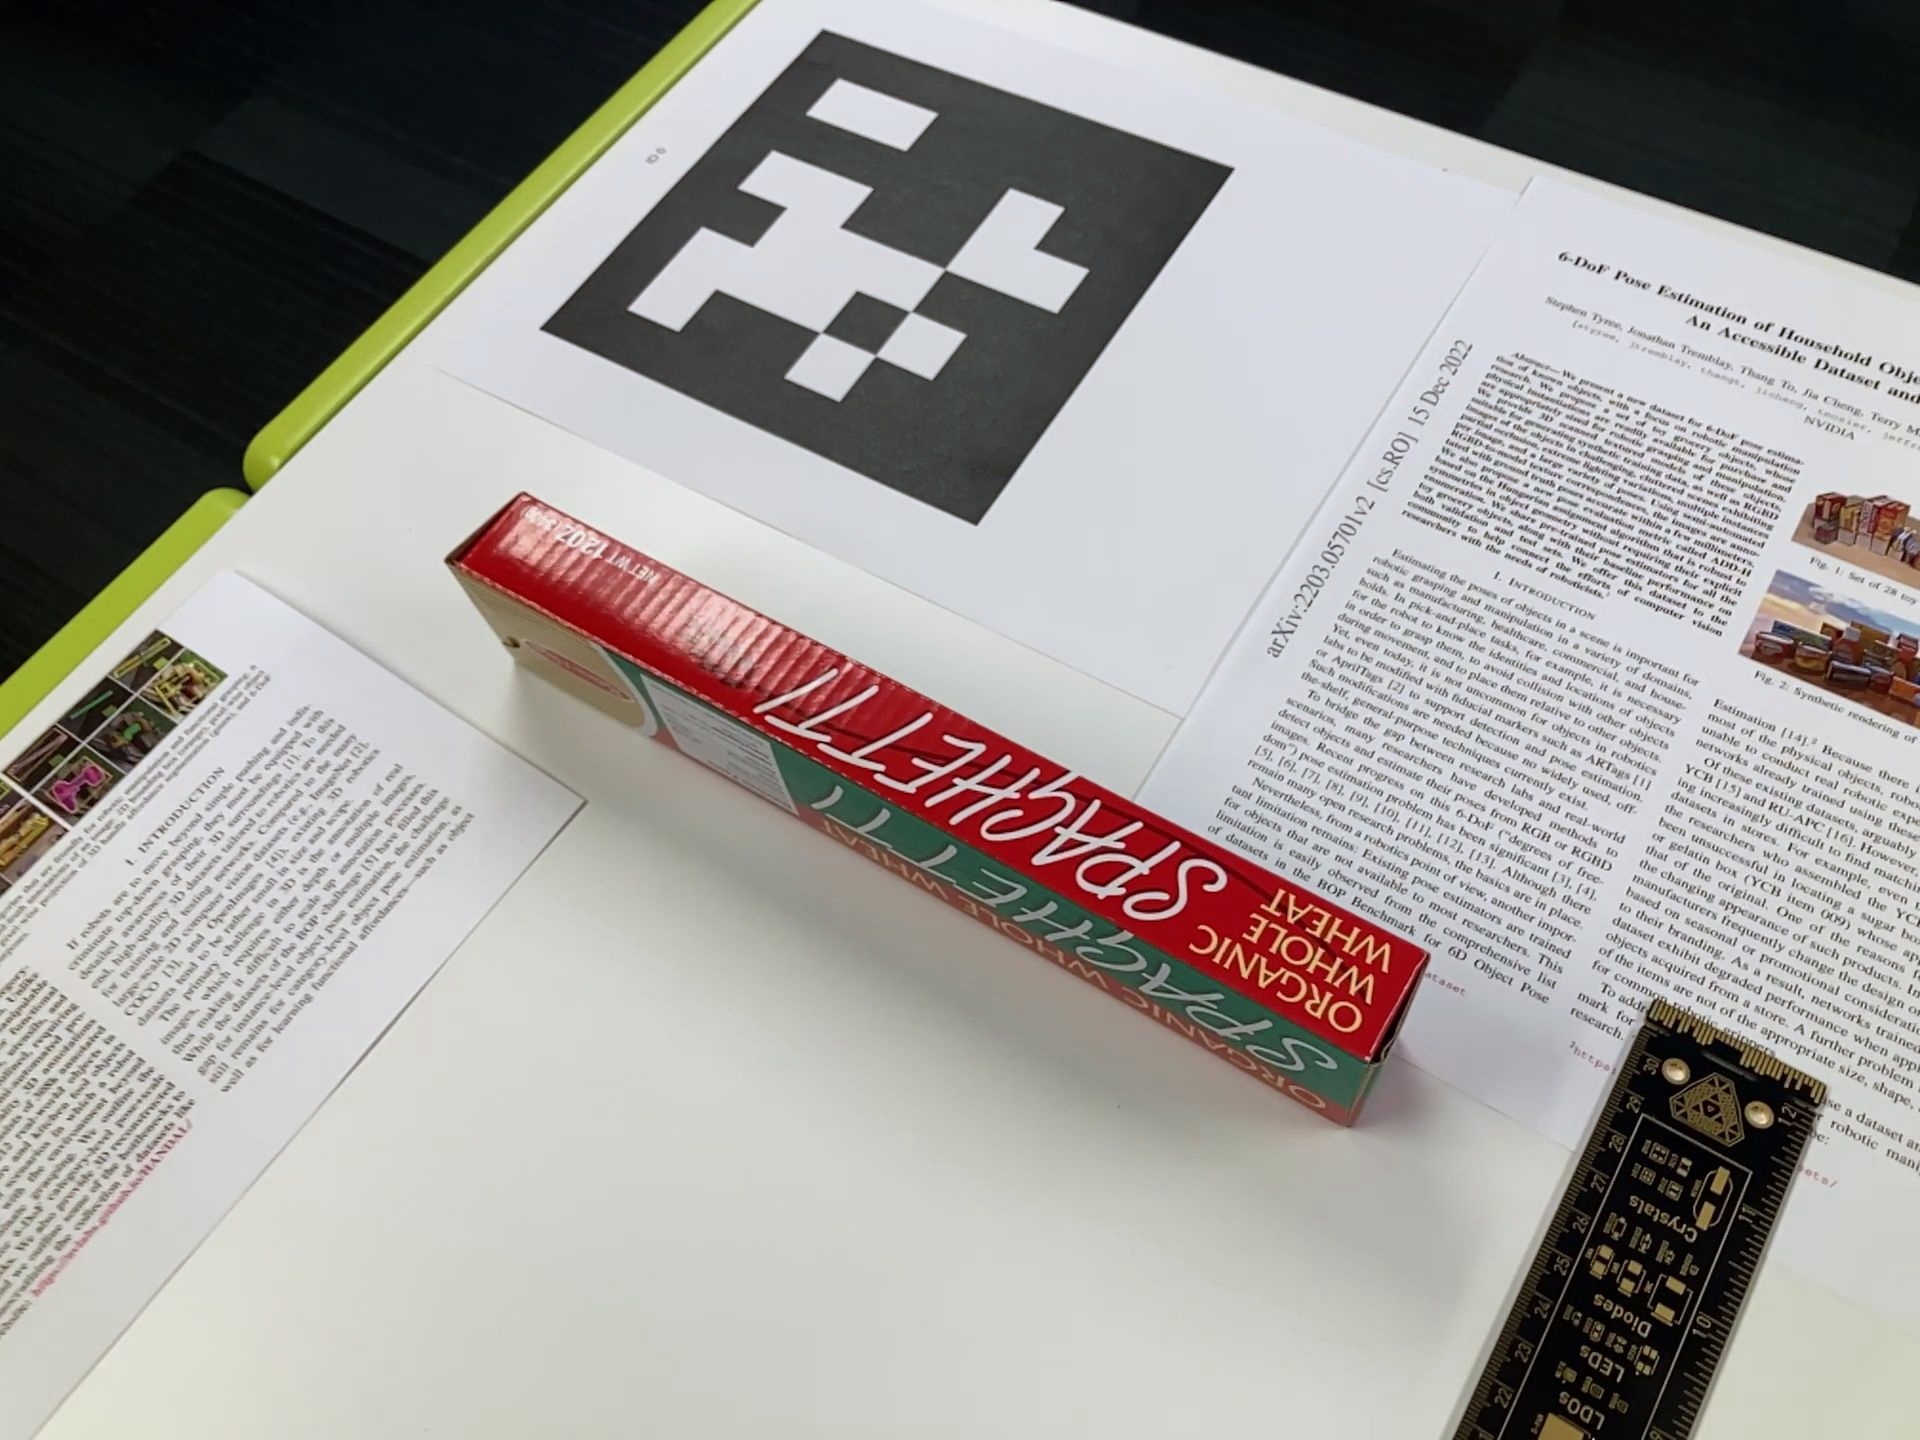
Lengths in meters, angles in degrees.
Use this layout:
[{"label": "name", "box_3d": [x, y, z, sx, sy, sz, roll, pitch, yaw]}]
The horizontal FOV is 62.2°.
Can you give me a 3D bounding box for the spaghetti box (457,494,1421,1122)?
[{"label": "spaghetti box", "box_3d": [-0.012, 0.017, 0.380, 0.250, 0.050, 0.028, 27, 68, 19]}]
